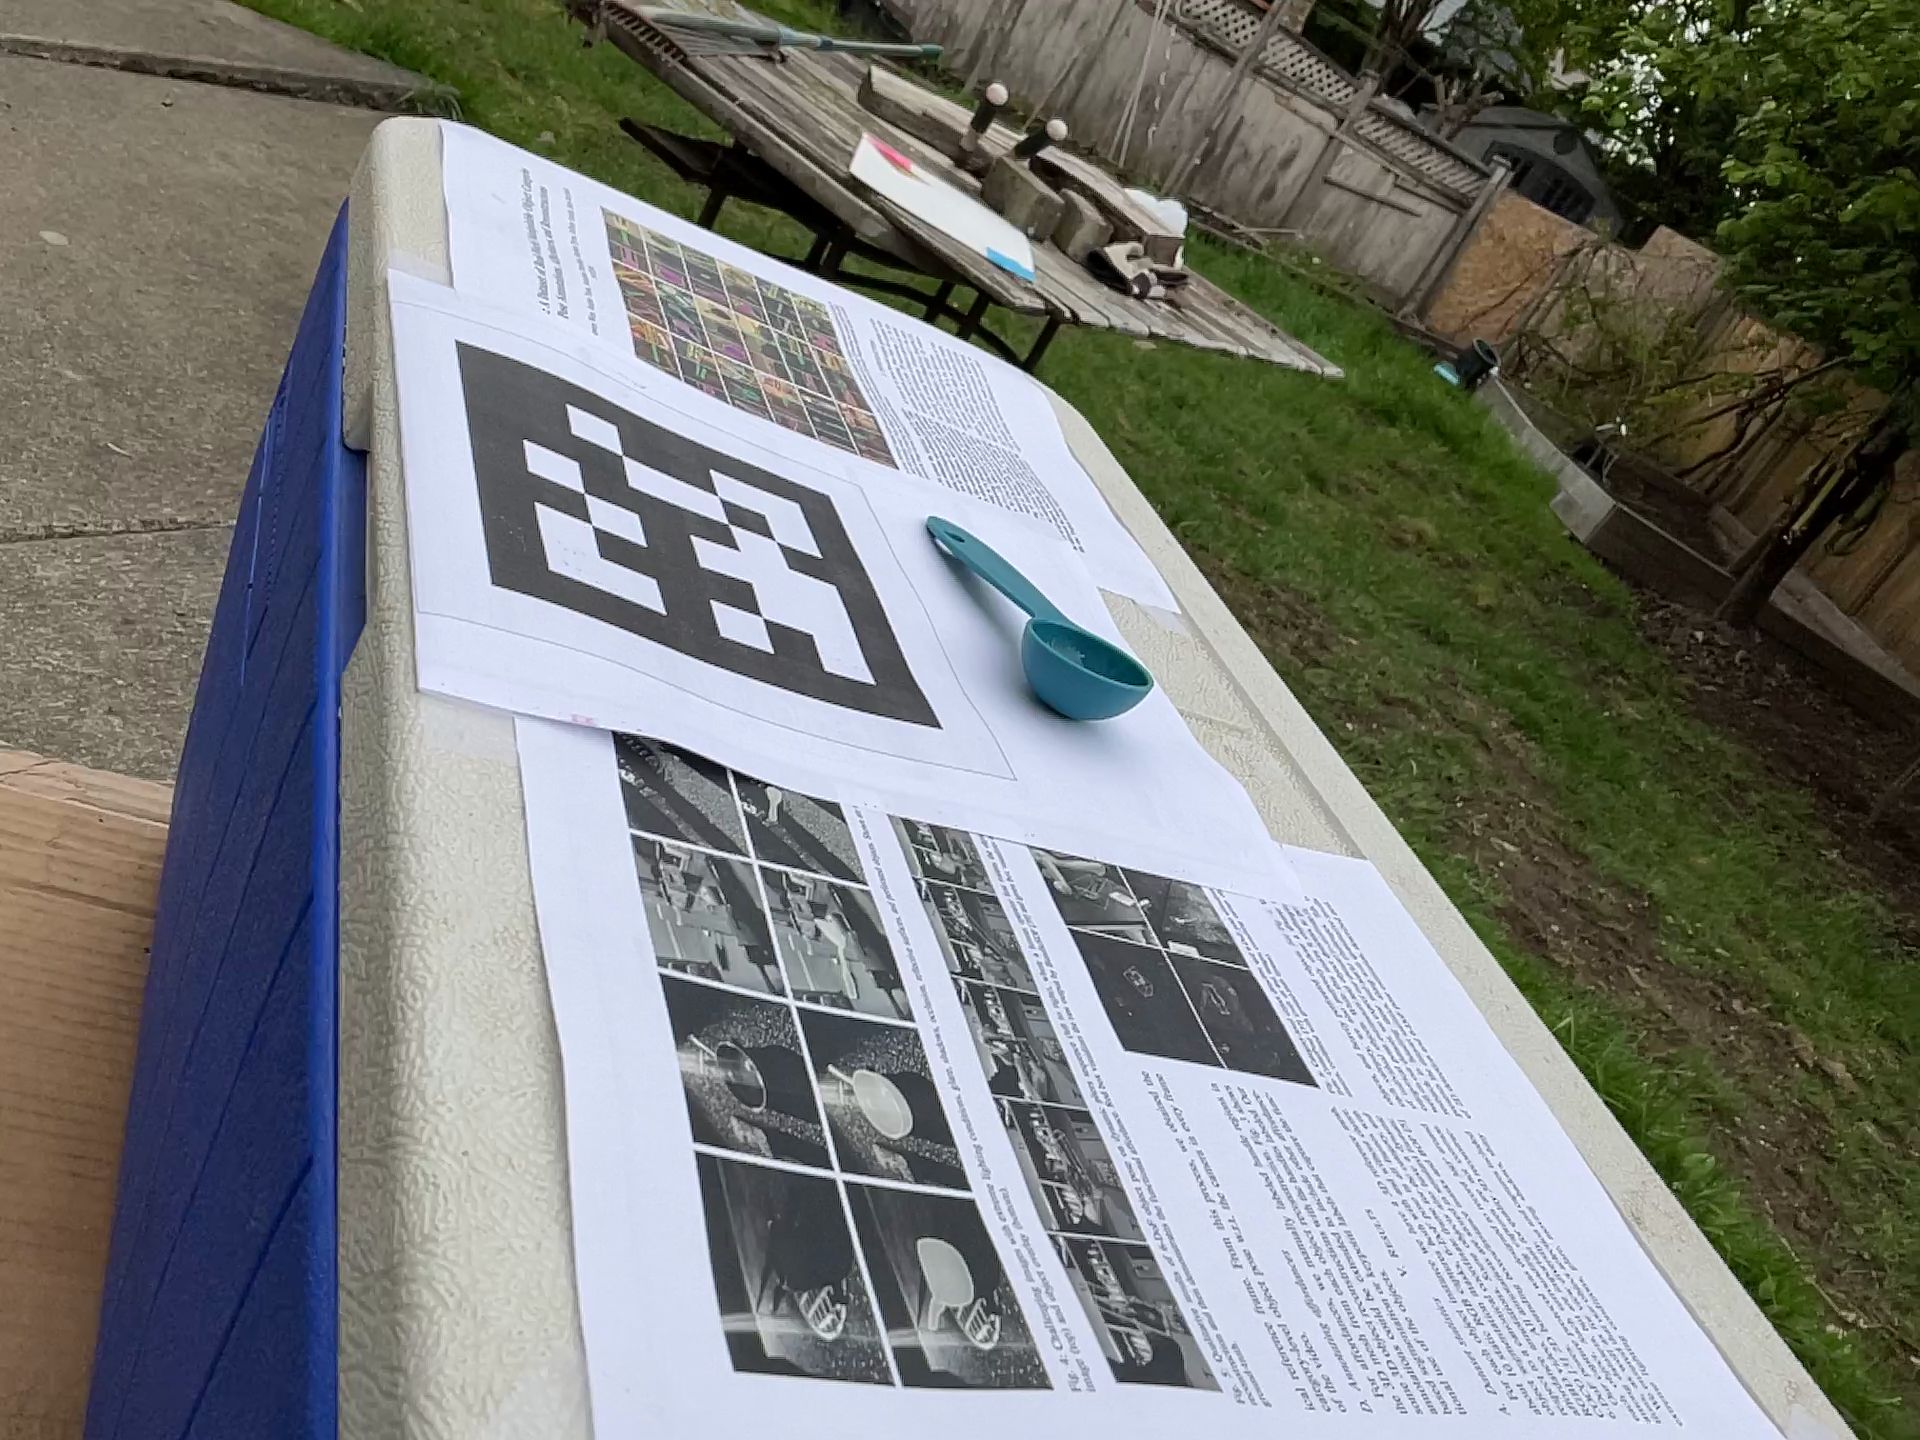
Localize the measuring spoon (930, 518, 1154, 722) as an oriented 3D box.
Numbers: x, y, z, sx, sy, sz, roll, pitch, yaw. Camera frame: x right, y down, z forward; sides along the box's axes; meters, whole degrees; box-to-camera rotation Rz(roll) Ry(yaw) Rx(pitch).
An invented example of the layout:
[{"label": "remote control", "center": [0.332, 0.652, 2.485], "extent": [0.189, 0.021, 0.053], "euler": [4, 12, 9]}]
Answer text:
[{"label": "measuring spoon", "center": [0.017, -0.033, 0.515], "extent": [0.042, 0.021, 0.129], "euler": [13, 21, -34]}]
